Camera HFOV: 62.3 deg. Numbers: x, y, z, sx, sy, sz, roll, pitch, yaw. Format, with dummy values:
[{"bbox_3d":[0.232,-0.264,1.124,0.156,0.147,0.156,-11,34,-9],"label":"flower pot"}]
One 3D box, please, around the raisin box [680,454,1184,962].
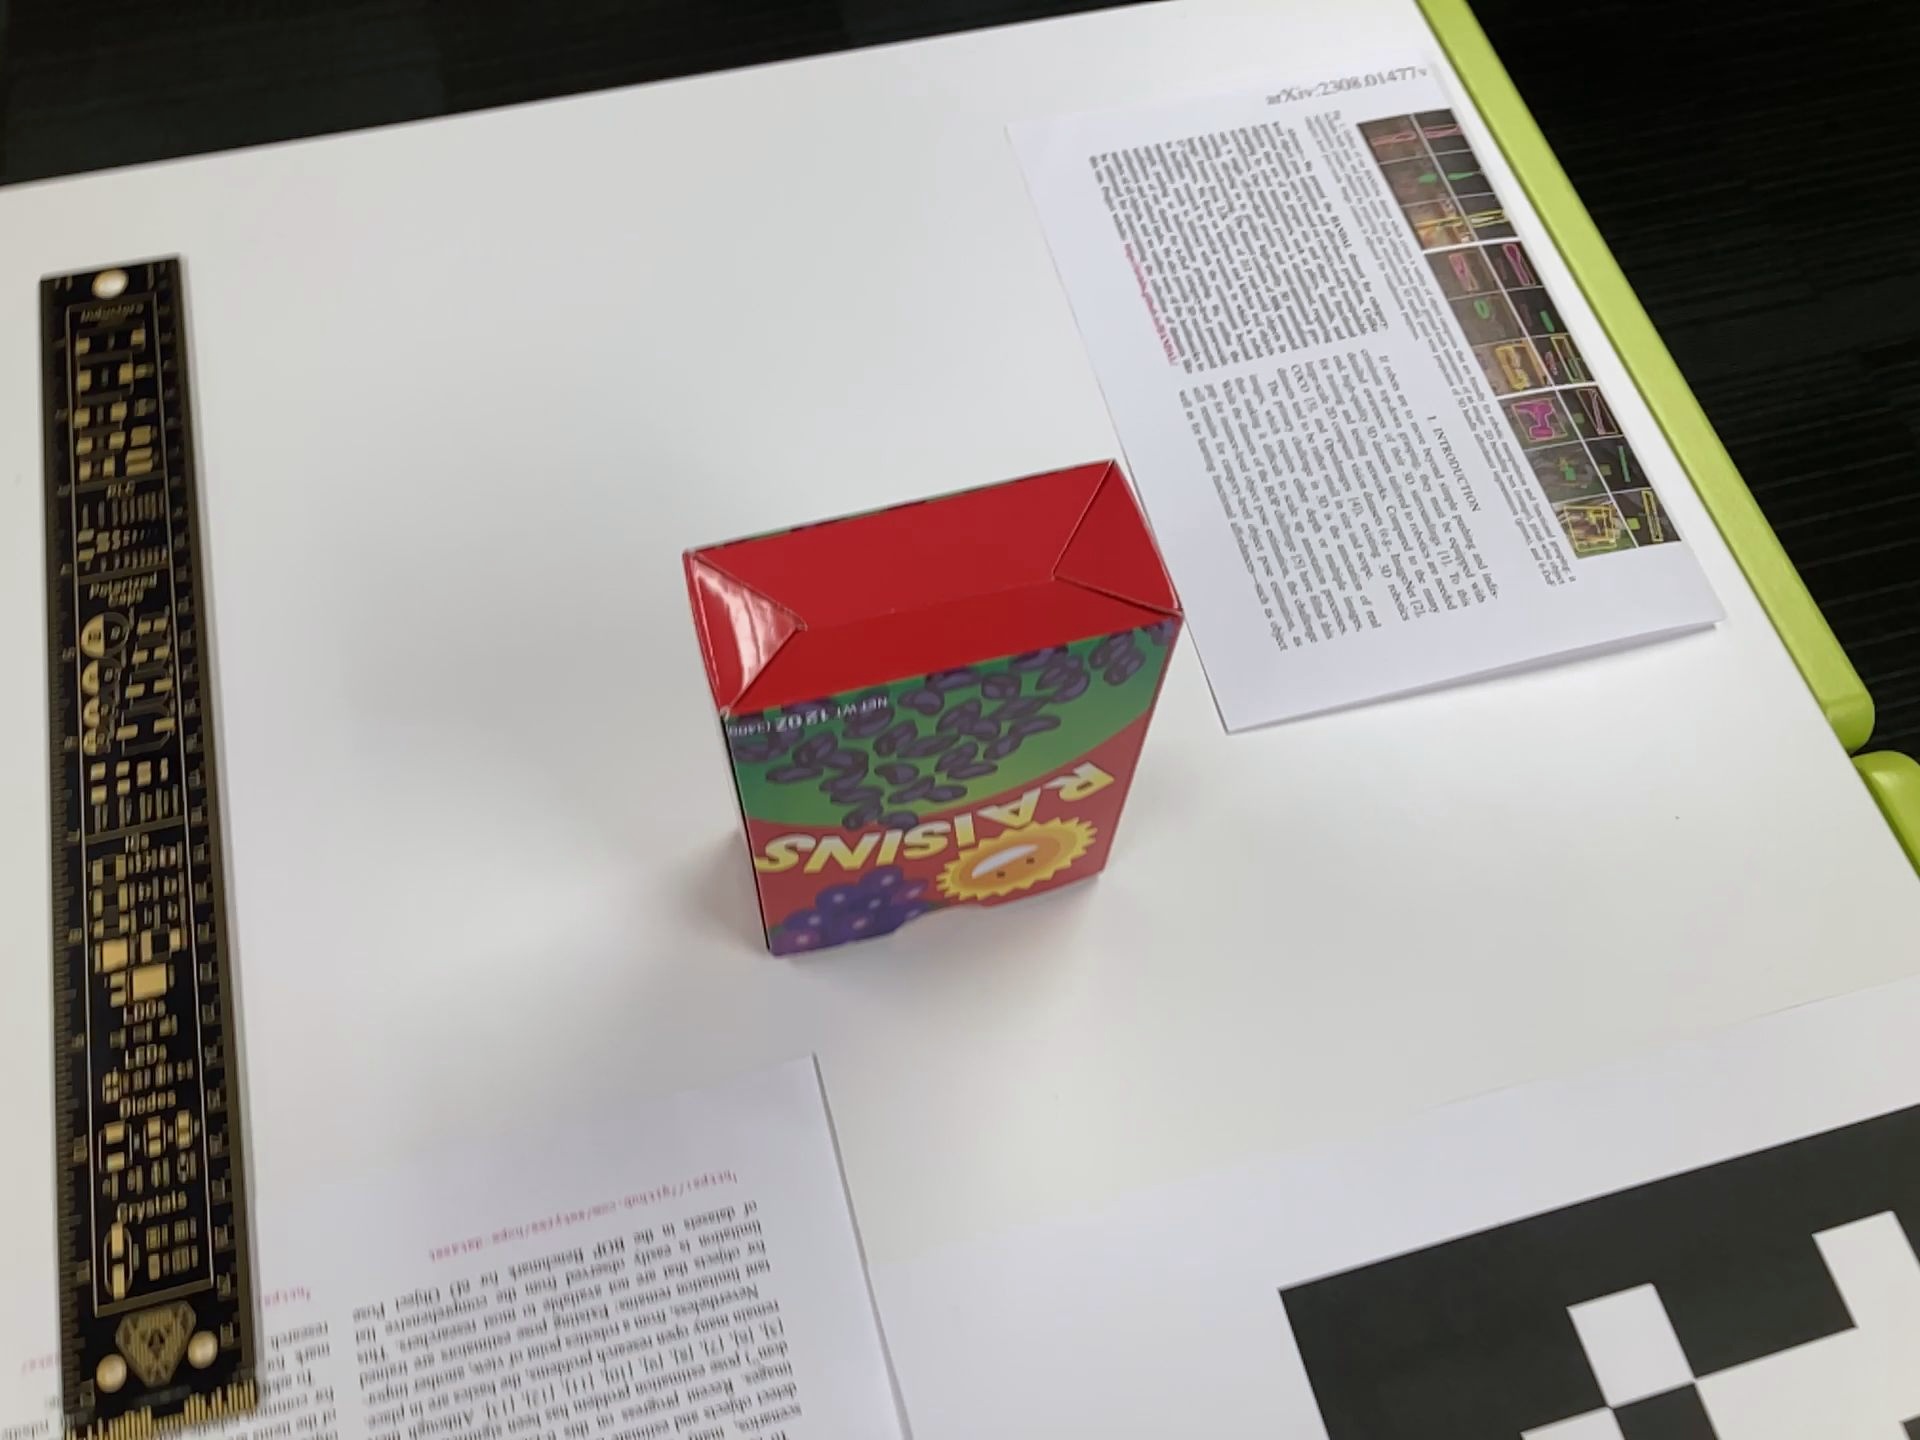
[{"bbox_3d":[-0.007,0.004,0.334,0.086,0.123,0.040,-14,63,-9],"label":"raisin box"}]
